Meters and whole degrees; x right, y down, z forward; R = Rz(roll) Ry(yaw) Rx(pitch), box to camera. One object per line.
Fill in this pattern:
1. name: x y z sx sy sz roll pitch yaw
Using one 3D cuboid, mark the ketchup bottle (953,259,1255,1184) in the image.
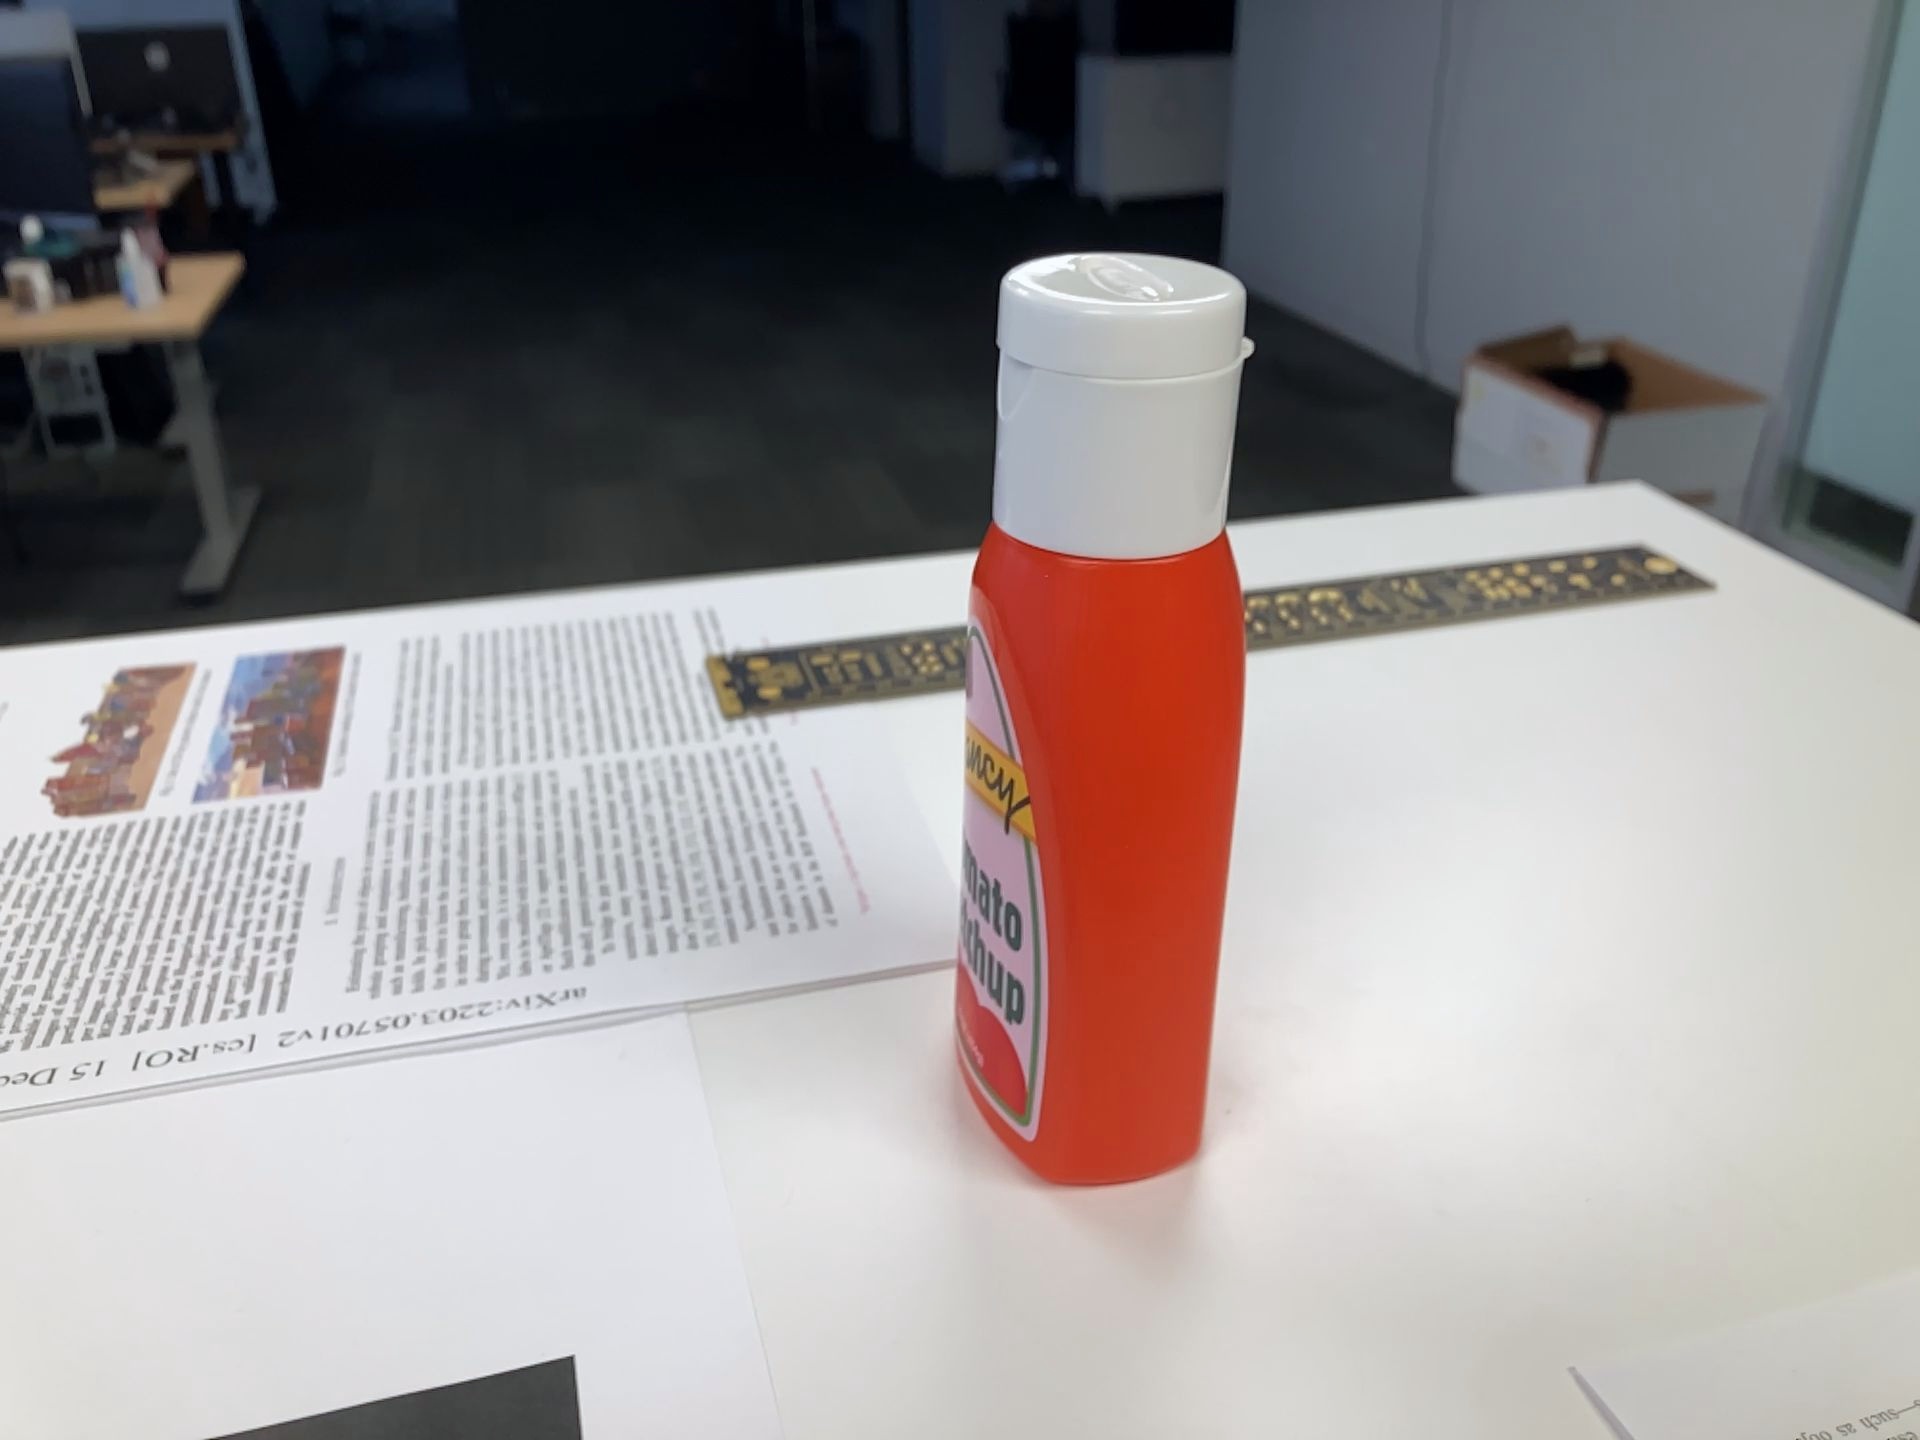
1. ketchup bottle: 0.023 0.002 0.268 0.043 0.149 0.065 -5 27 -13
